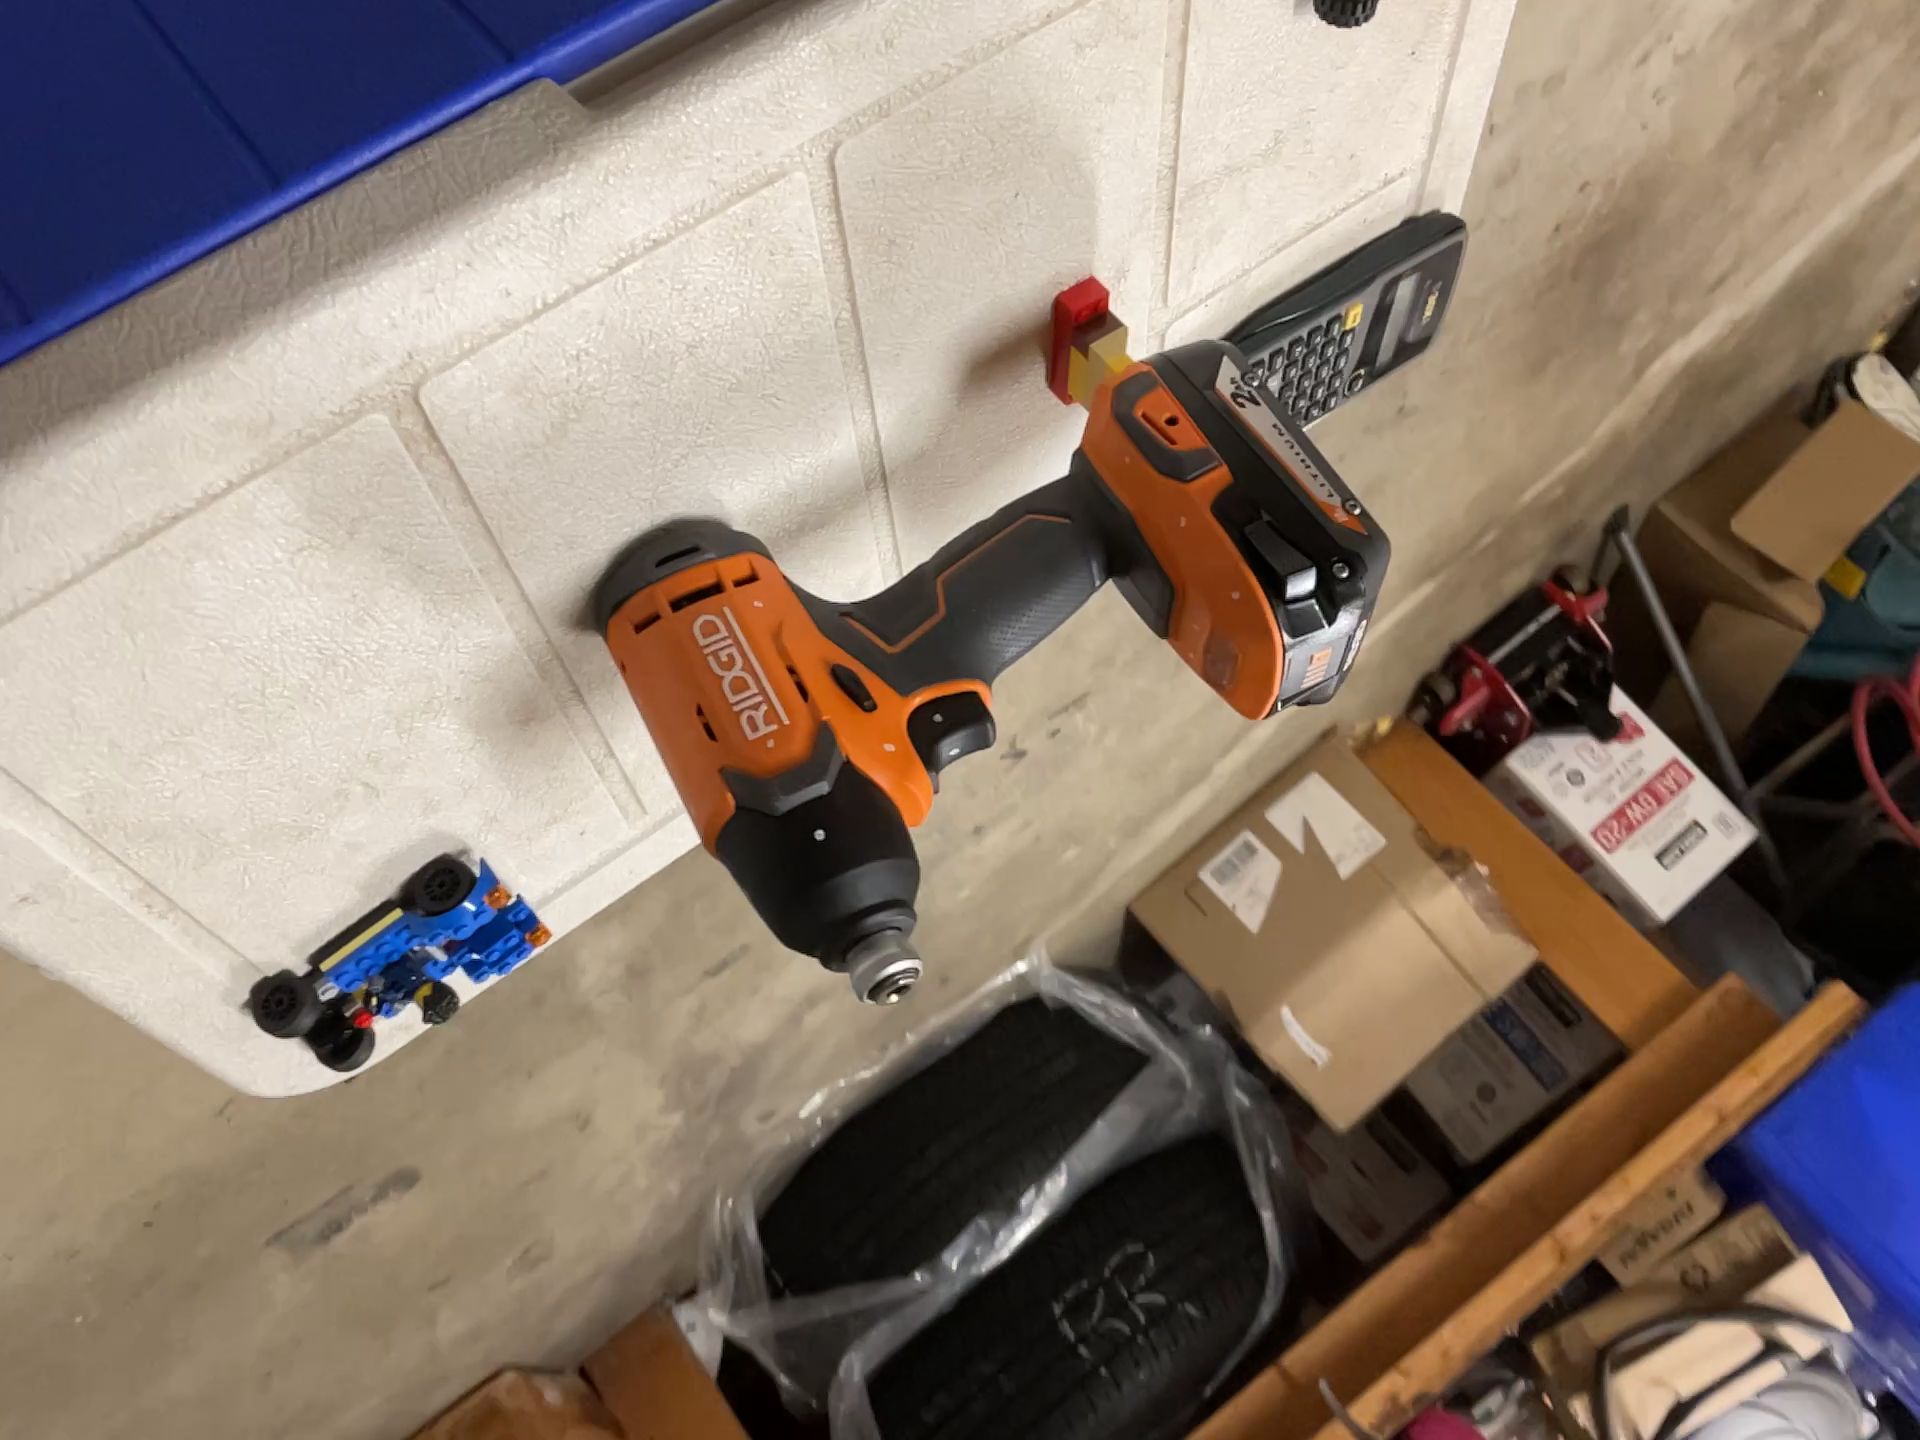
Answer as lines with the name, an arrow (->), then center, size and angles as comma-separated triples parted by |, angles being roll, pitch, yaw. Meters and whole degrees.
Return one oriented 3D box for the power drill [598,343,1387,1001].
power drill -> 0.017, -0.018, 0.512 | 0.226, 0.164, 0.084 | -24, 152, -12
